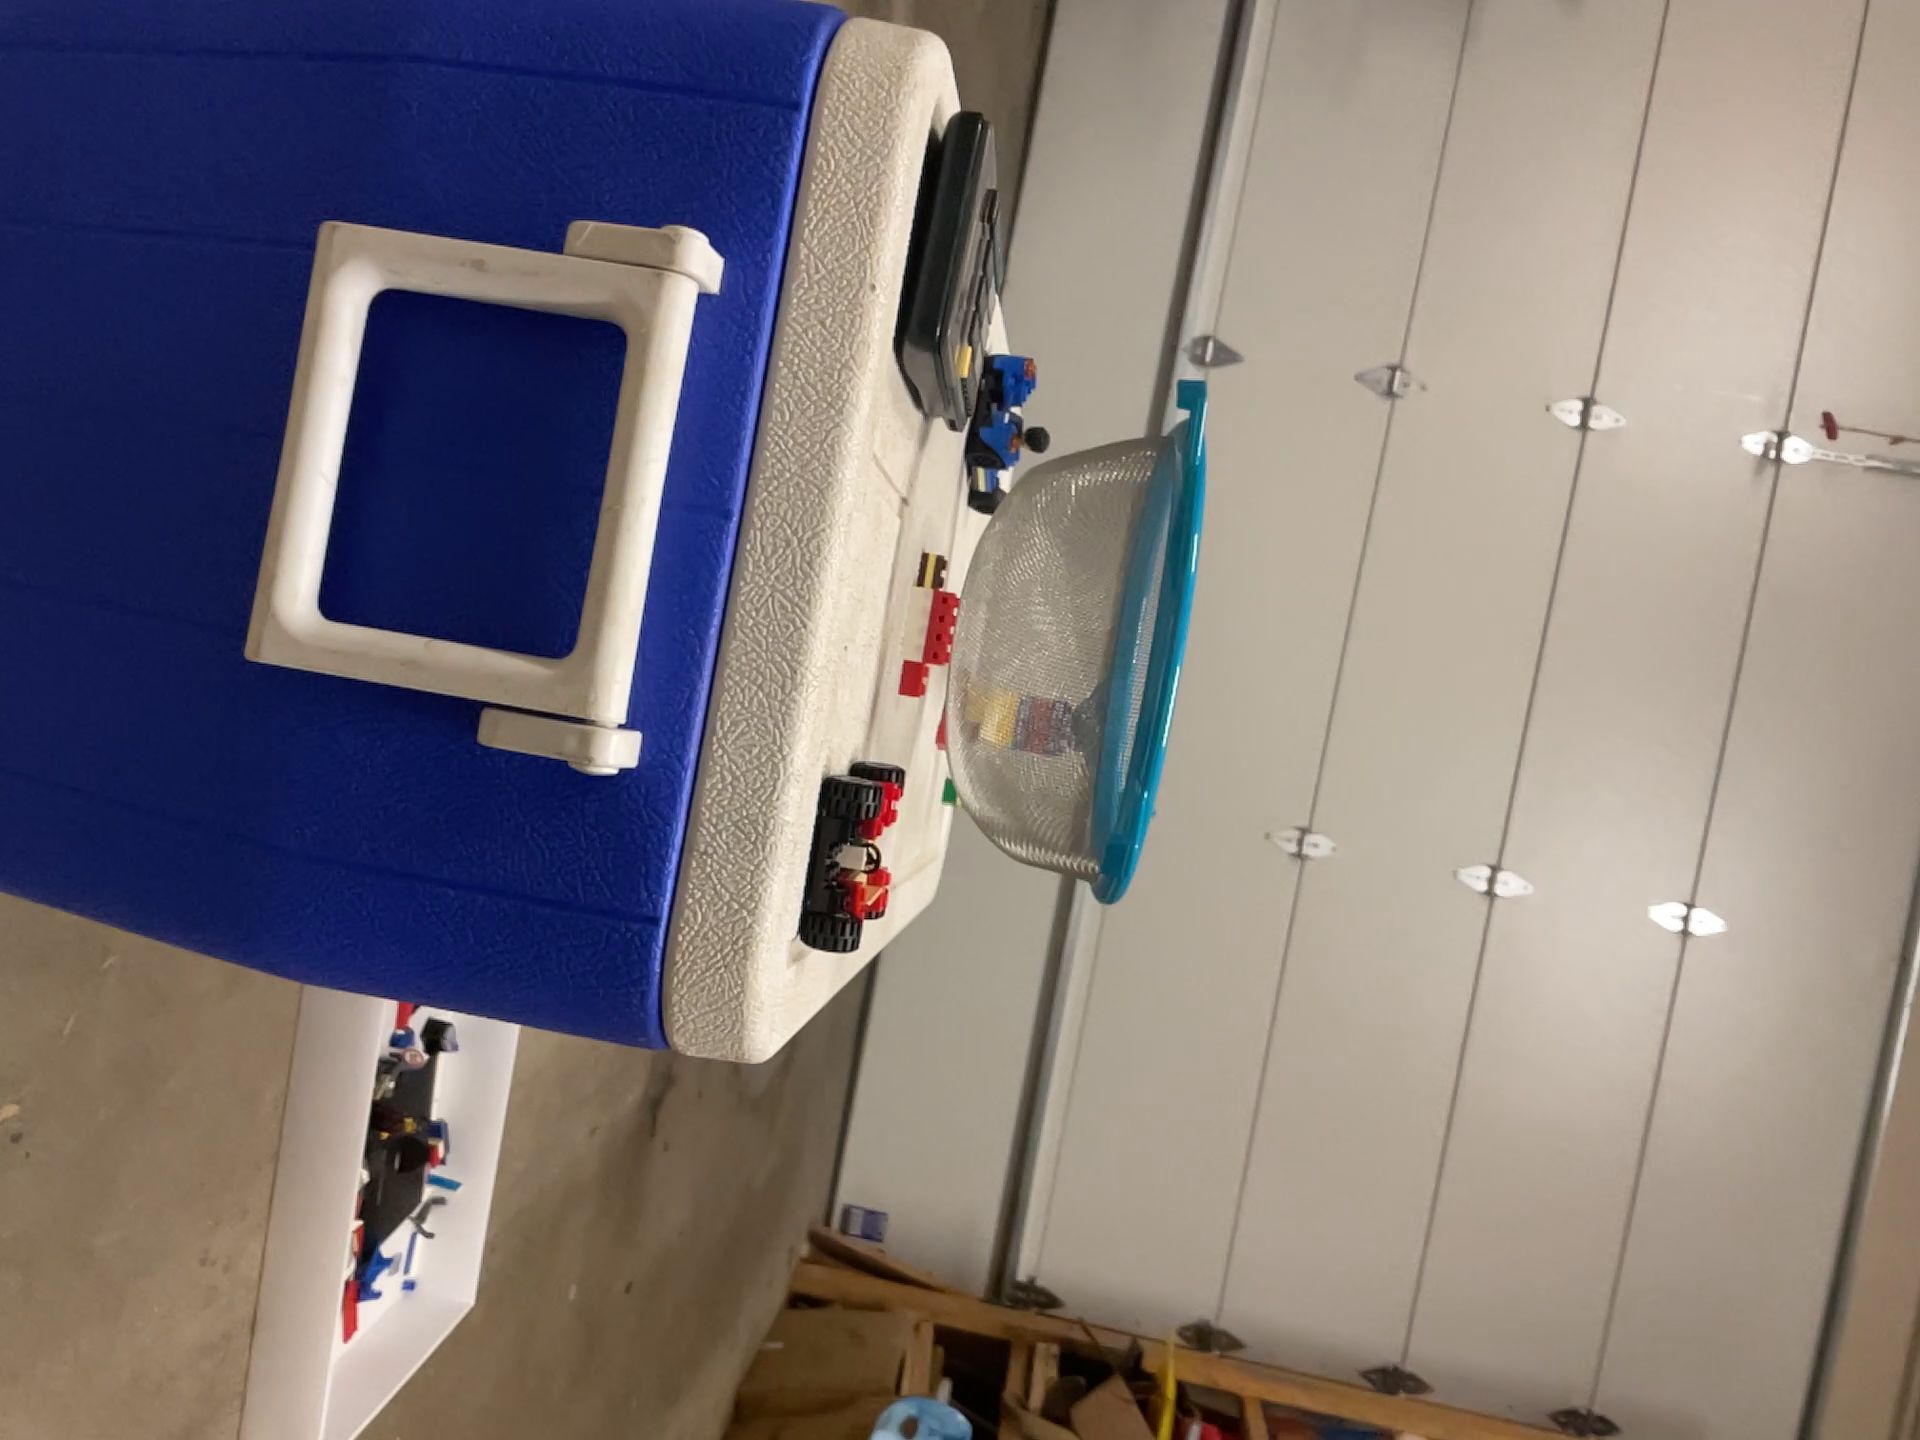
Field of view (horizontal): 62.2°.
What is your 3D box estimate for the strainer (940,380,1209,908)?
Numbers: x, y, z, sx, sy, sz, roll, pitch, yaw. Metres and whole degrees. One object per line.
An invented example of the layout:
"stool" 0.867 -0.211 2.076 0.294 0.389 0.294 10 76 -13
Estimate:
"strainer" 0.038 -0.022 0.750 0.340 0.095 0.211 104 -4 -82
